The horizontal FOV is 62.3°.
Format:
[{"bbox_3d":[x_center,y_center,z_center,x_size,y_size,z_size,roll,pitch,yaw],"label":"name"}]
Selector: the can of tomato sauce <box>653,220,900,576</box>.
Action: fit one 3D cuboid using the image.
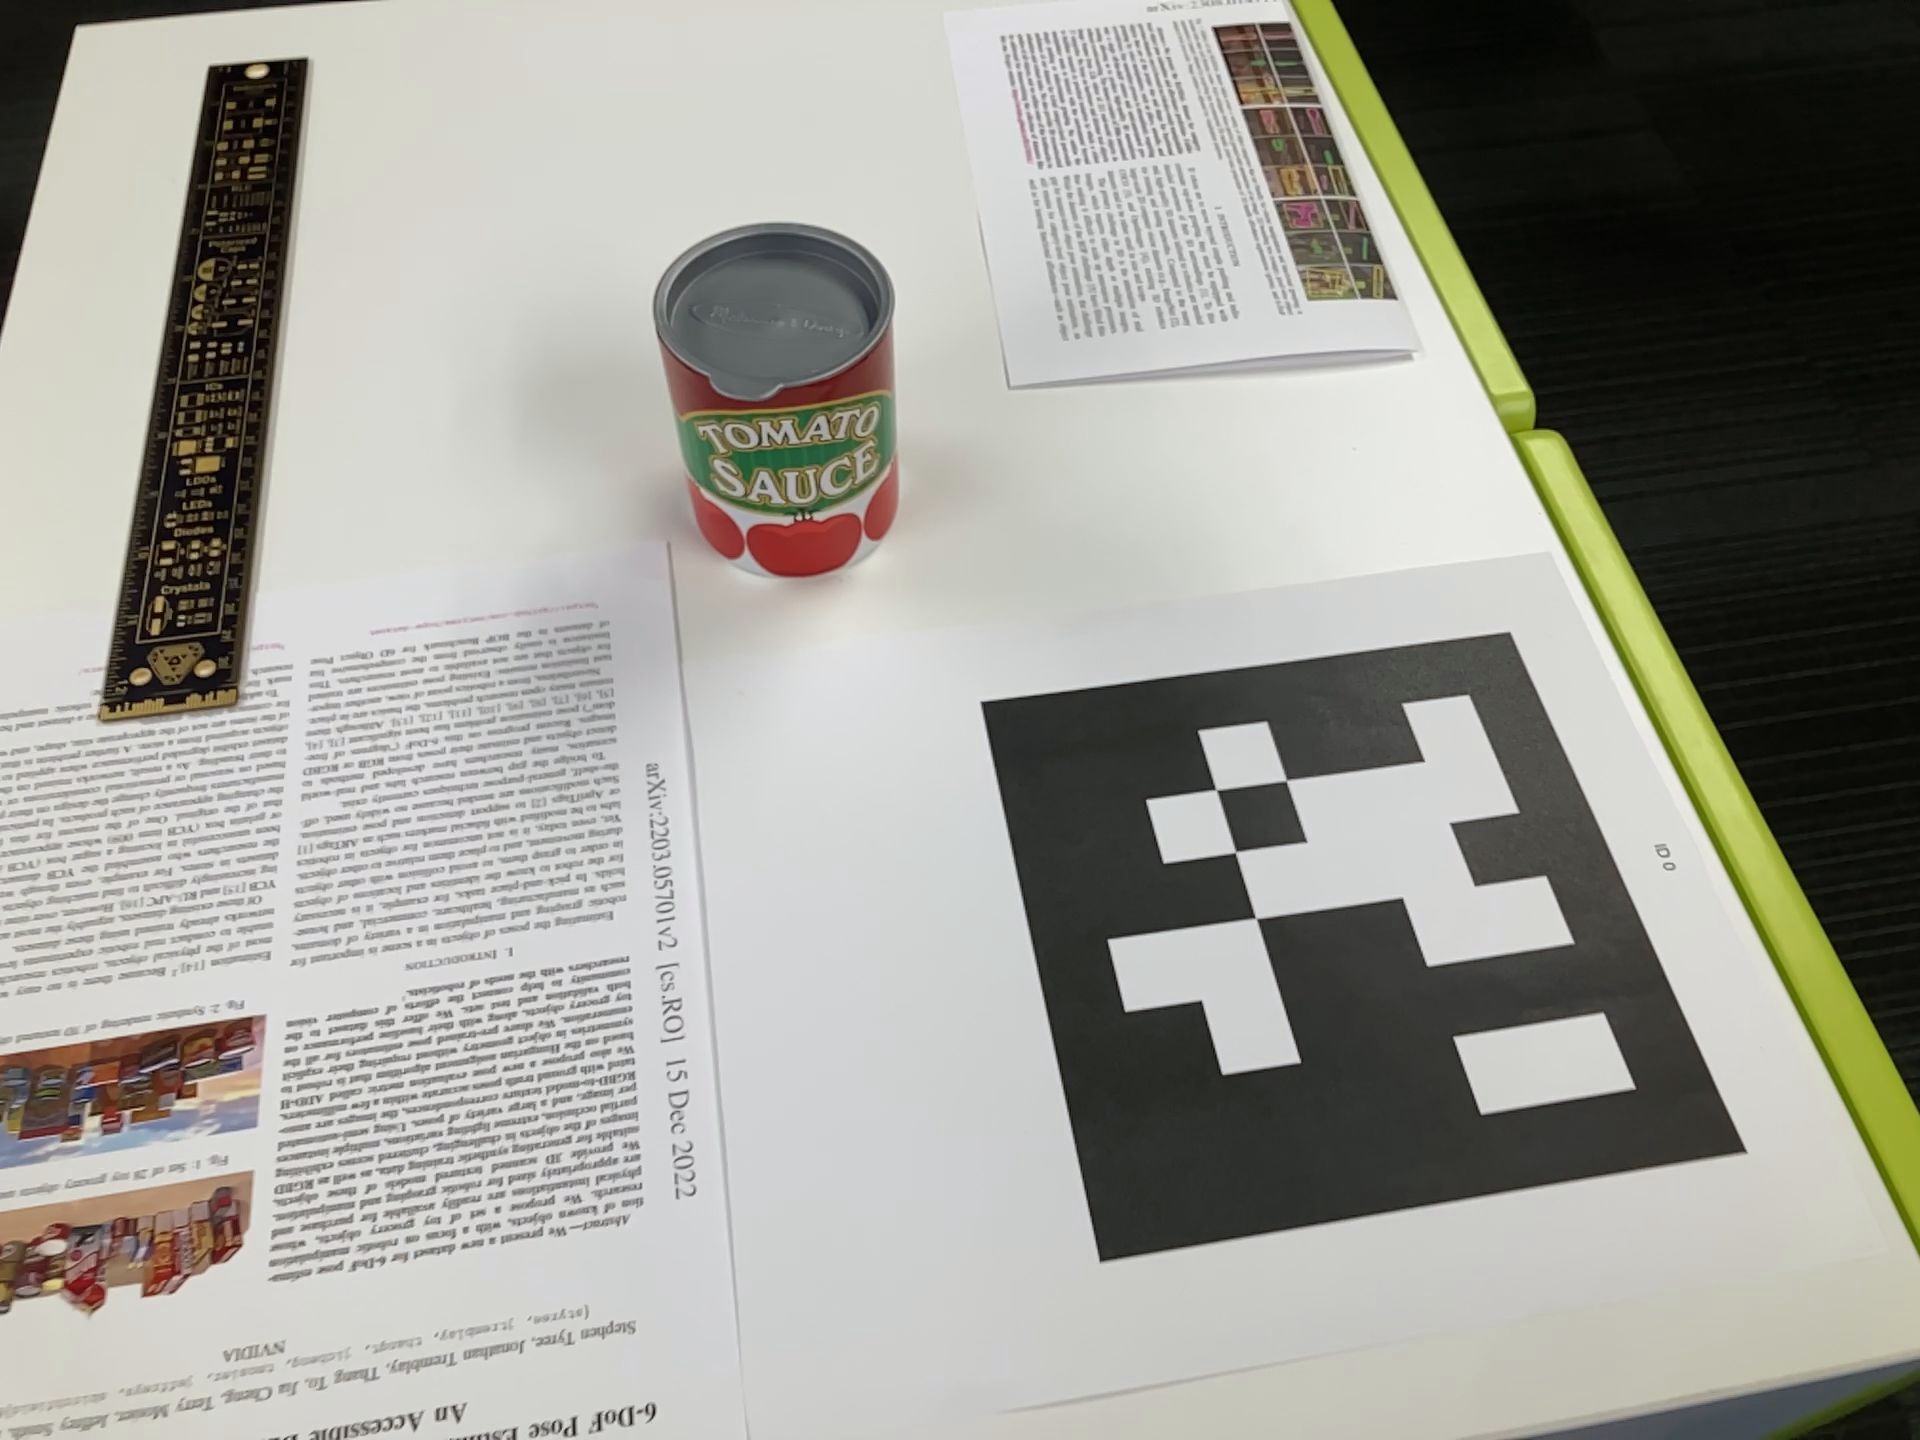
[{"bbox_3d":[-0.051,-0.092,0.472,0.071,0.083,0.071,0,56,0],"label":"can of tomato sauce"}]
